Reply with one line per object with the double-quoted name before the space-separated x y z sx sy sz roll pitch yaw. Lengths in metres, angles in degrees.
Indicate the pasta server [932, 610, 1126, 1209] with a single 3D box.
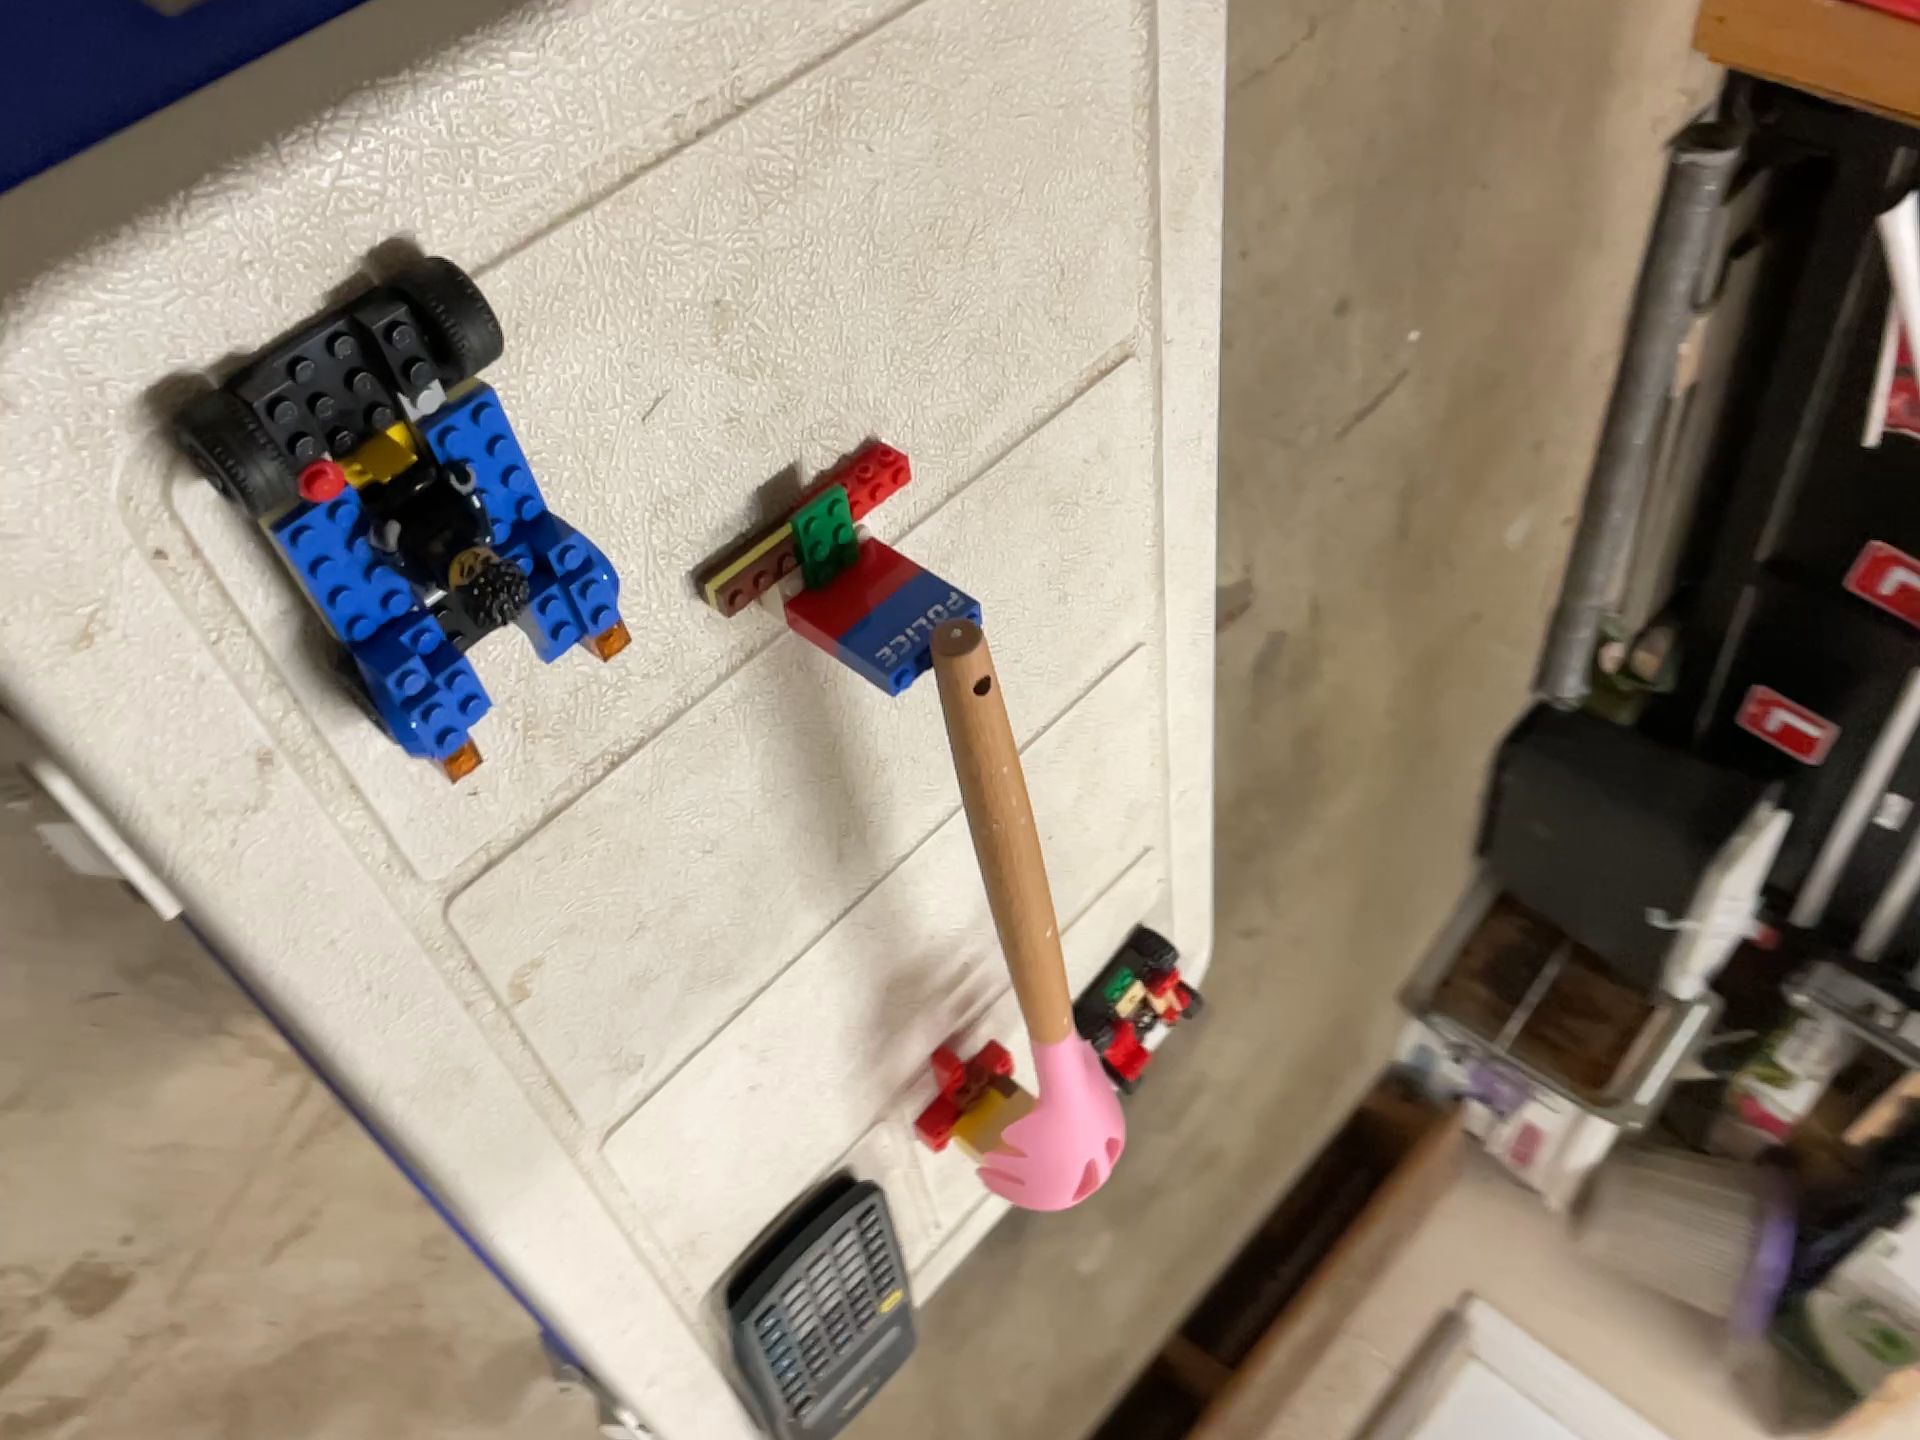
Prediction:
"pasta server" 0.019 0.077 0.497 0.060 0.040 0.316 -41 144 -22
